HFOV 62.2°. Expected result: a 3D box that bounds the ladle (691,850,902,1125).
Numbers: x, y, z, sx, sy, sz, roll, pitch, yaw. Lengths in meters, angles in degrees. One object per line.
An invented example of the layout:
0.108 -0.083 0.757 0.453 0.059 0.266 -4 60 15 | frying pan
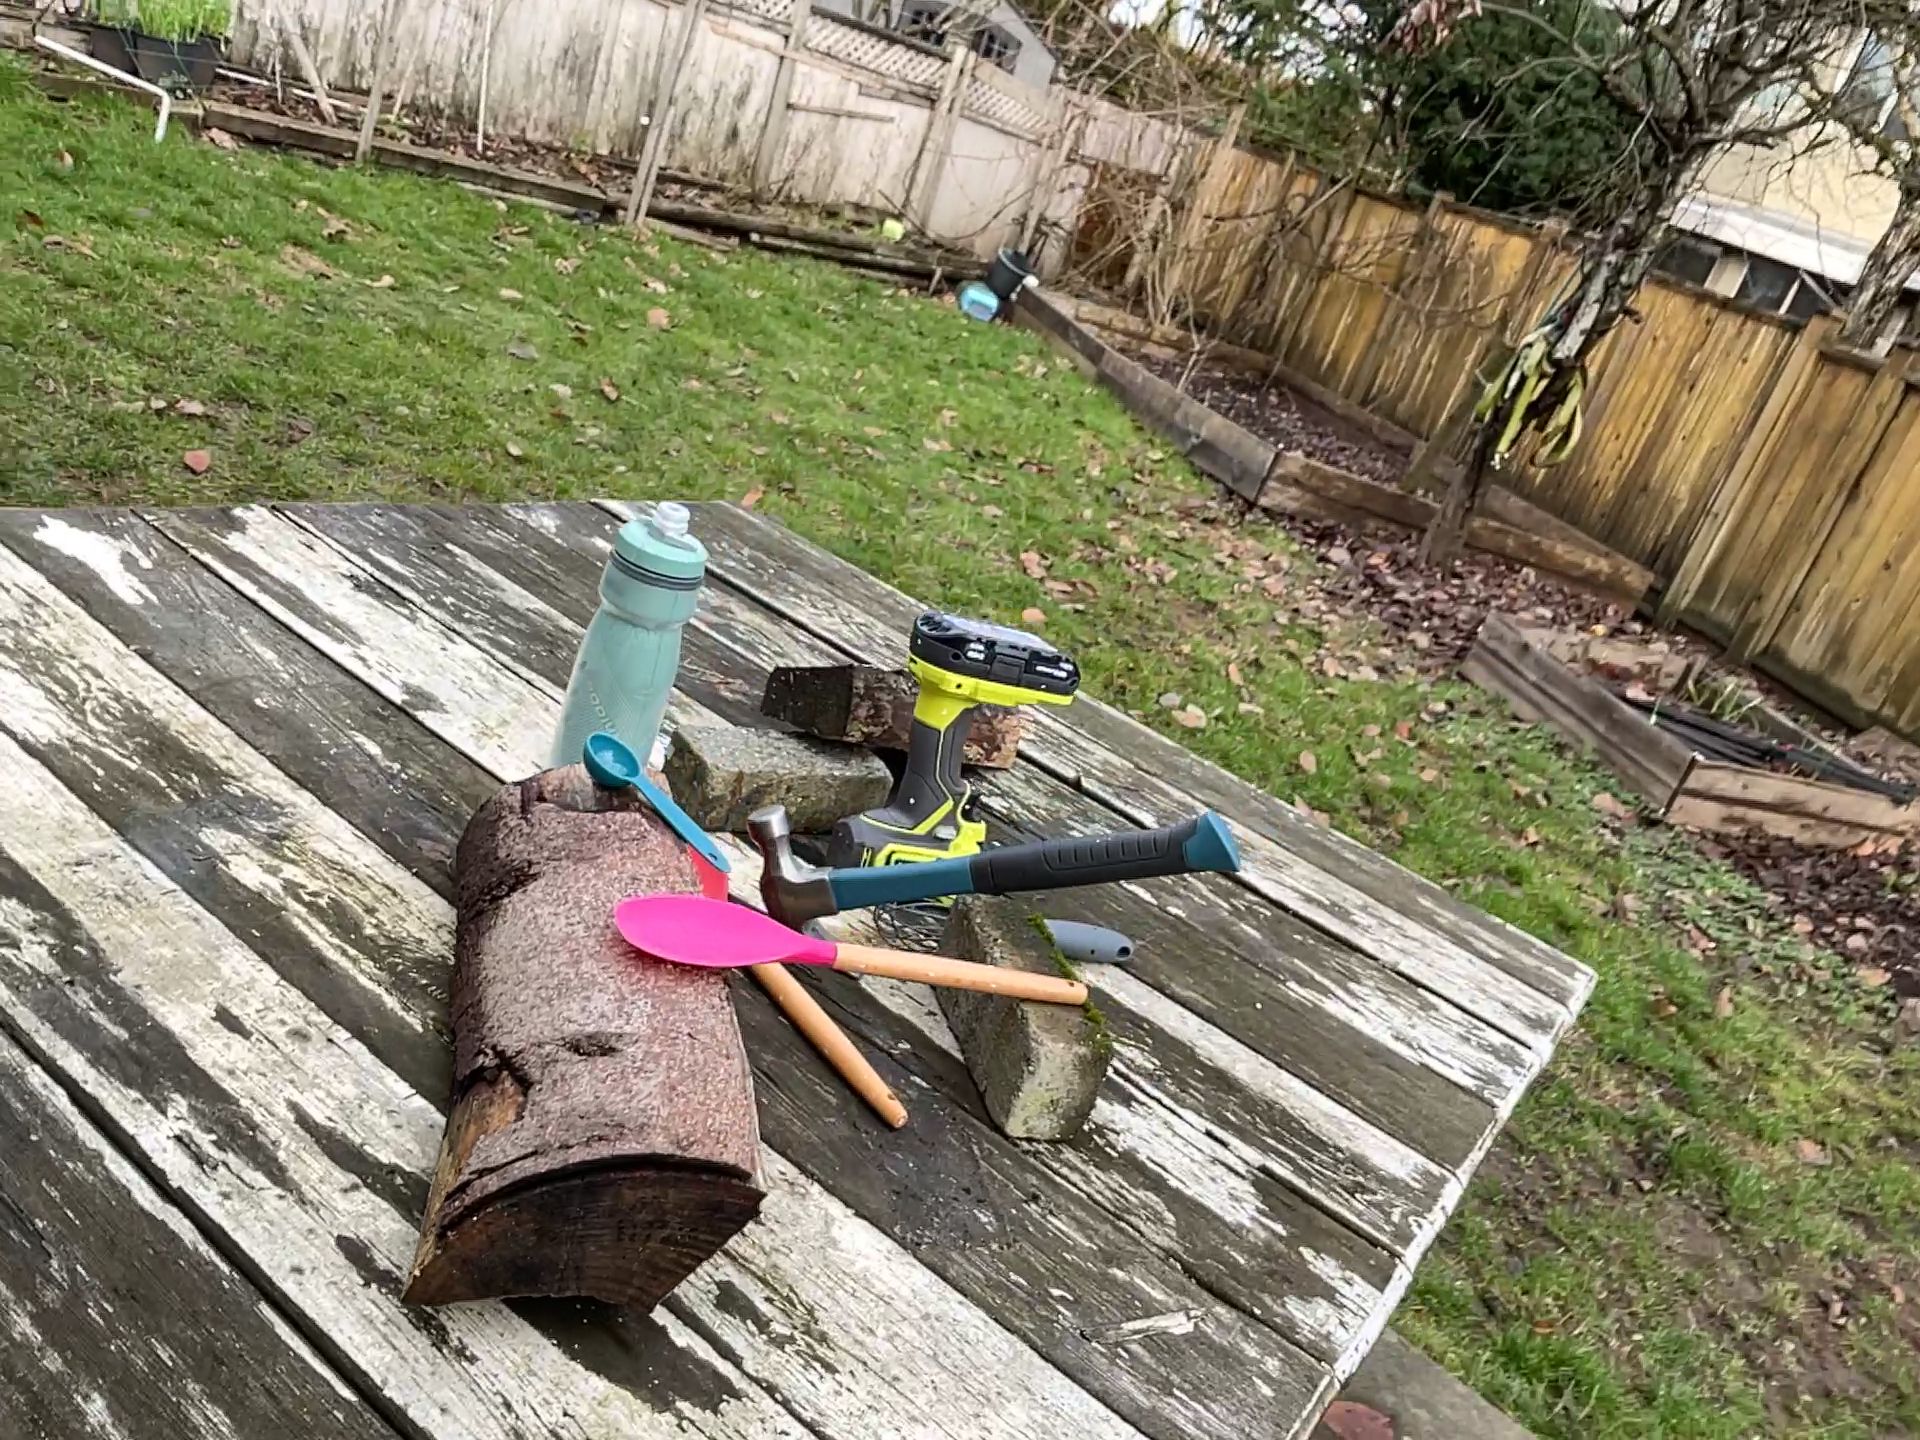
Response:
-0.132 0.164 1.079 0.069 0.031 0.316 4 28 -45 | ladle

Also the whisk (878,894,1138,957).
0.042 0.157 1.223 0.238 0.055 0.055 12 29 -31 | whisk

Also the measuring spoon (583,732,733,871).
-0.202 0.059 1.053 0.128 0.021 0.042 44 21 -1 | measuring spoon

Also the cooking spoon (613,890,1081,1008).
-0.058 0.145 0.964 0.318 0.017 0.069 15 20 -29 | cooking spoon

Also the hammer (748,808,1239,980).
0.023 0.104 1.096 0.331 0.128 0.033 -8 18 14 | hammer

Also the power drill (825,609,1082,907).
0.005 0.038 1.254 0.171 0.223 0.080 11 15 -29 | power drill
